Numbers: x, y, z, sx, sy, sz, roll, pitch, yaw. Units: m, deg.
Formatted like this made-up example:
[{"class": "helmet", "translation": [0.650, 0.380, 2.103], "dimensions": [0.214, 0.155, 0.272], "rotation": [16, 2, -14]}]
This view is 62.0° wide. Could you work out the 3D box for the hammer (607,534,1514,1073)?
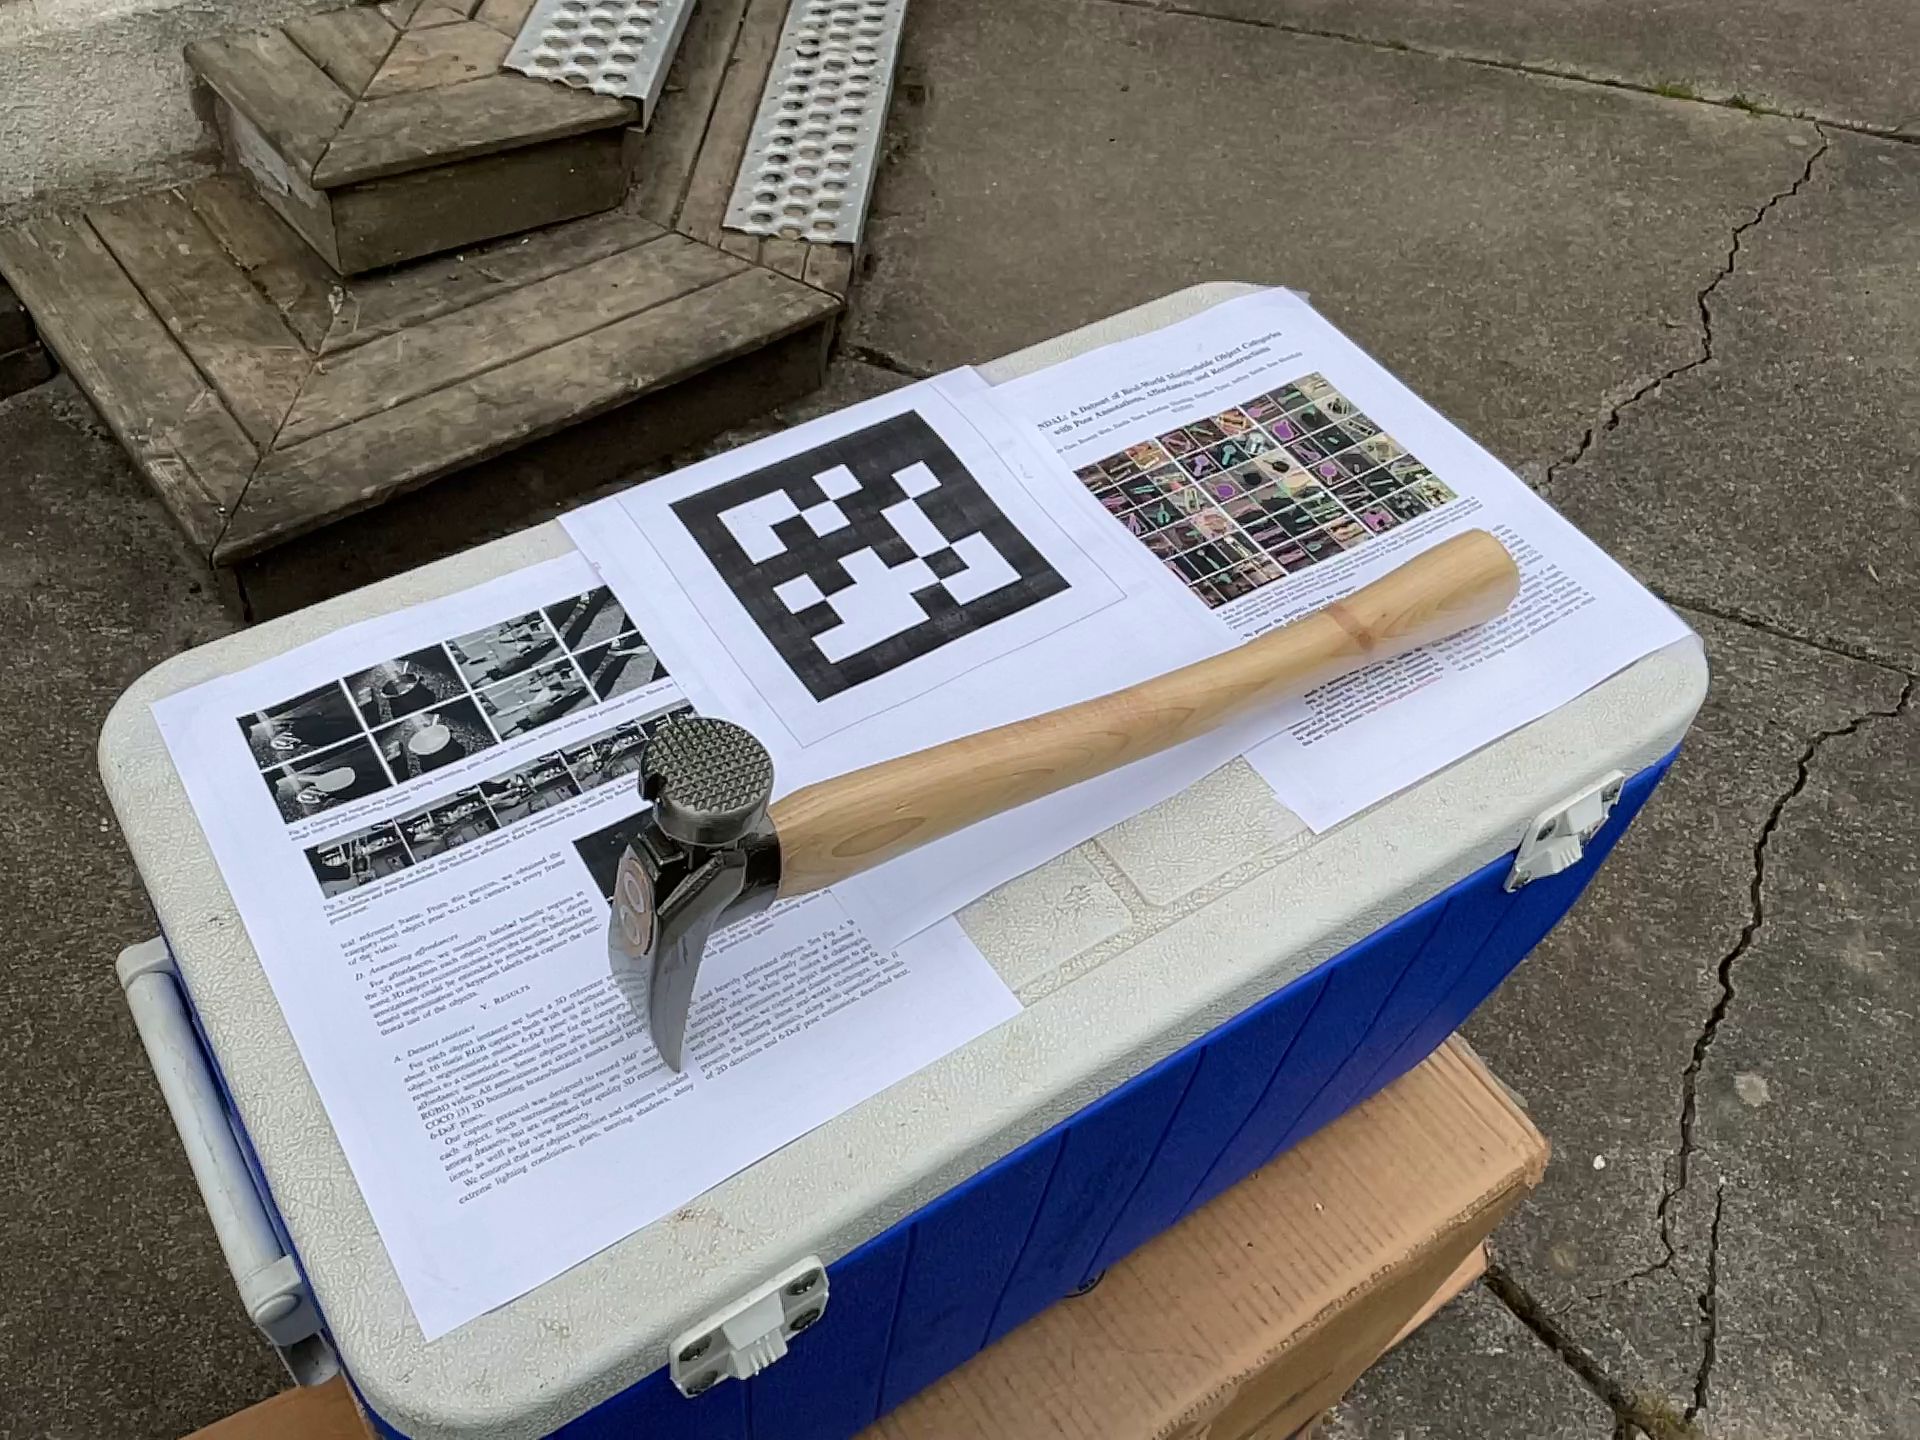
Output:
[{"class": "hammer", "translation": [0.061, 0.008, 0.600], "dimensions": [0.410, 0.146, 0.038], "rotation": [-19, 56, -32]}]
